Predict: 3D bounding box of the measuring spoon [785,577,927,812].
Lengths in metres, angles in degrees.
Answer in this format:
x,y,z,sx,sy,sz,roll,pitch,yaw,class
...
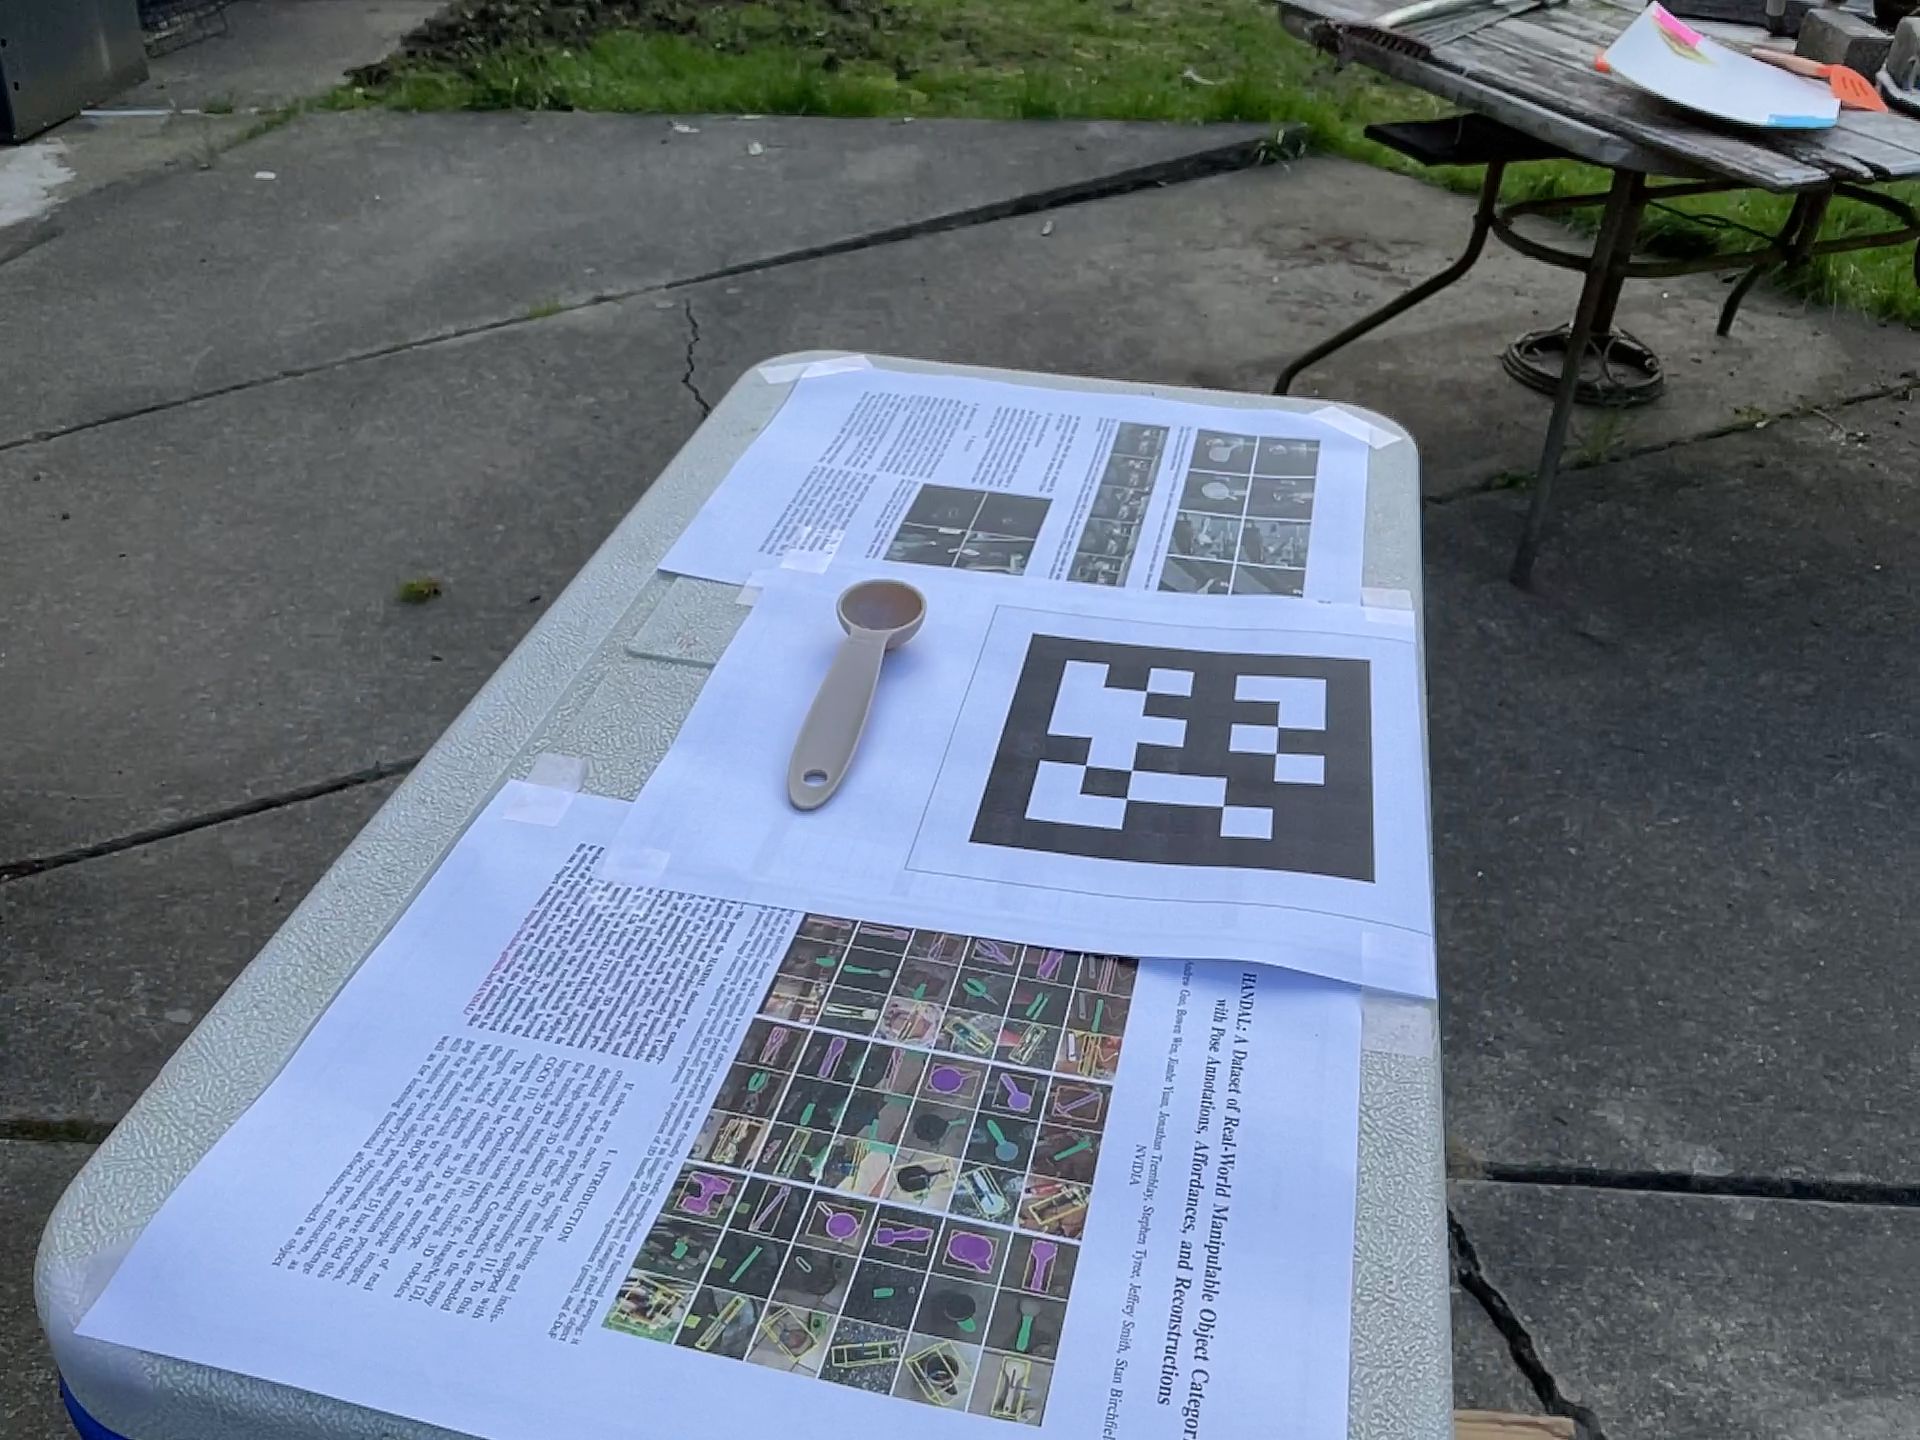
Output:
x,y,z,sx,sy,sz,roll,pitch,yaw,class
-0.039,-0.008,0.566,0.034,0.018,0.124,9,43,8,measuring spoon
